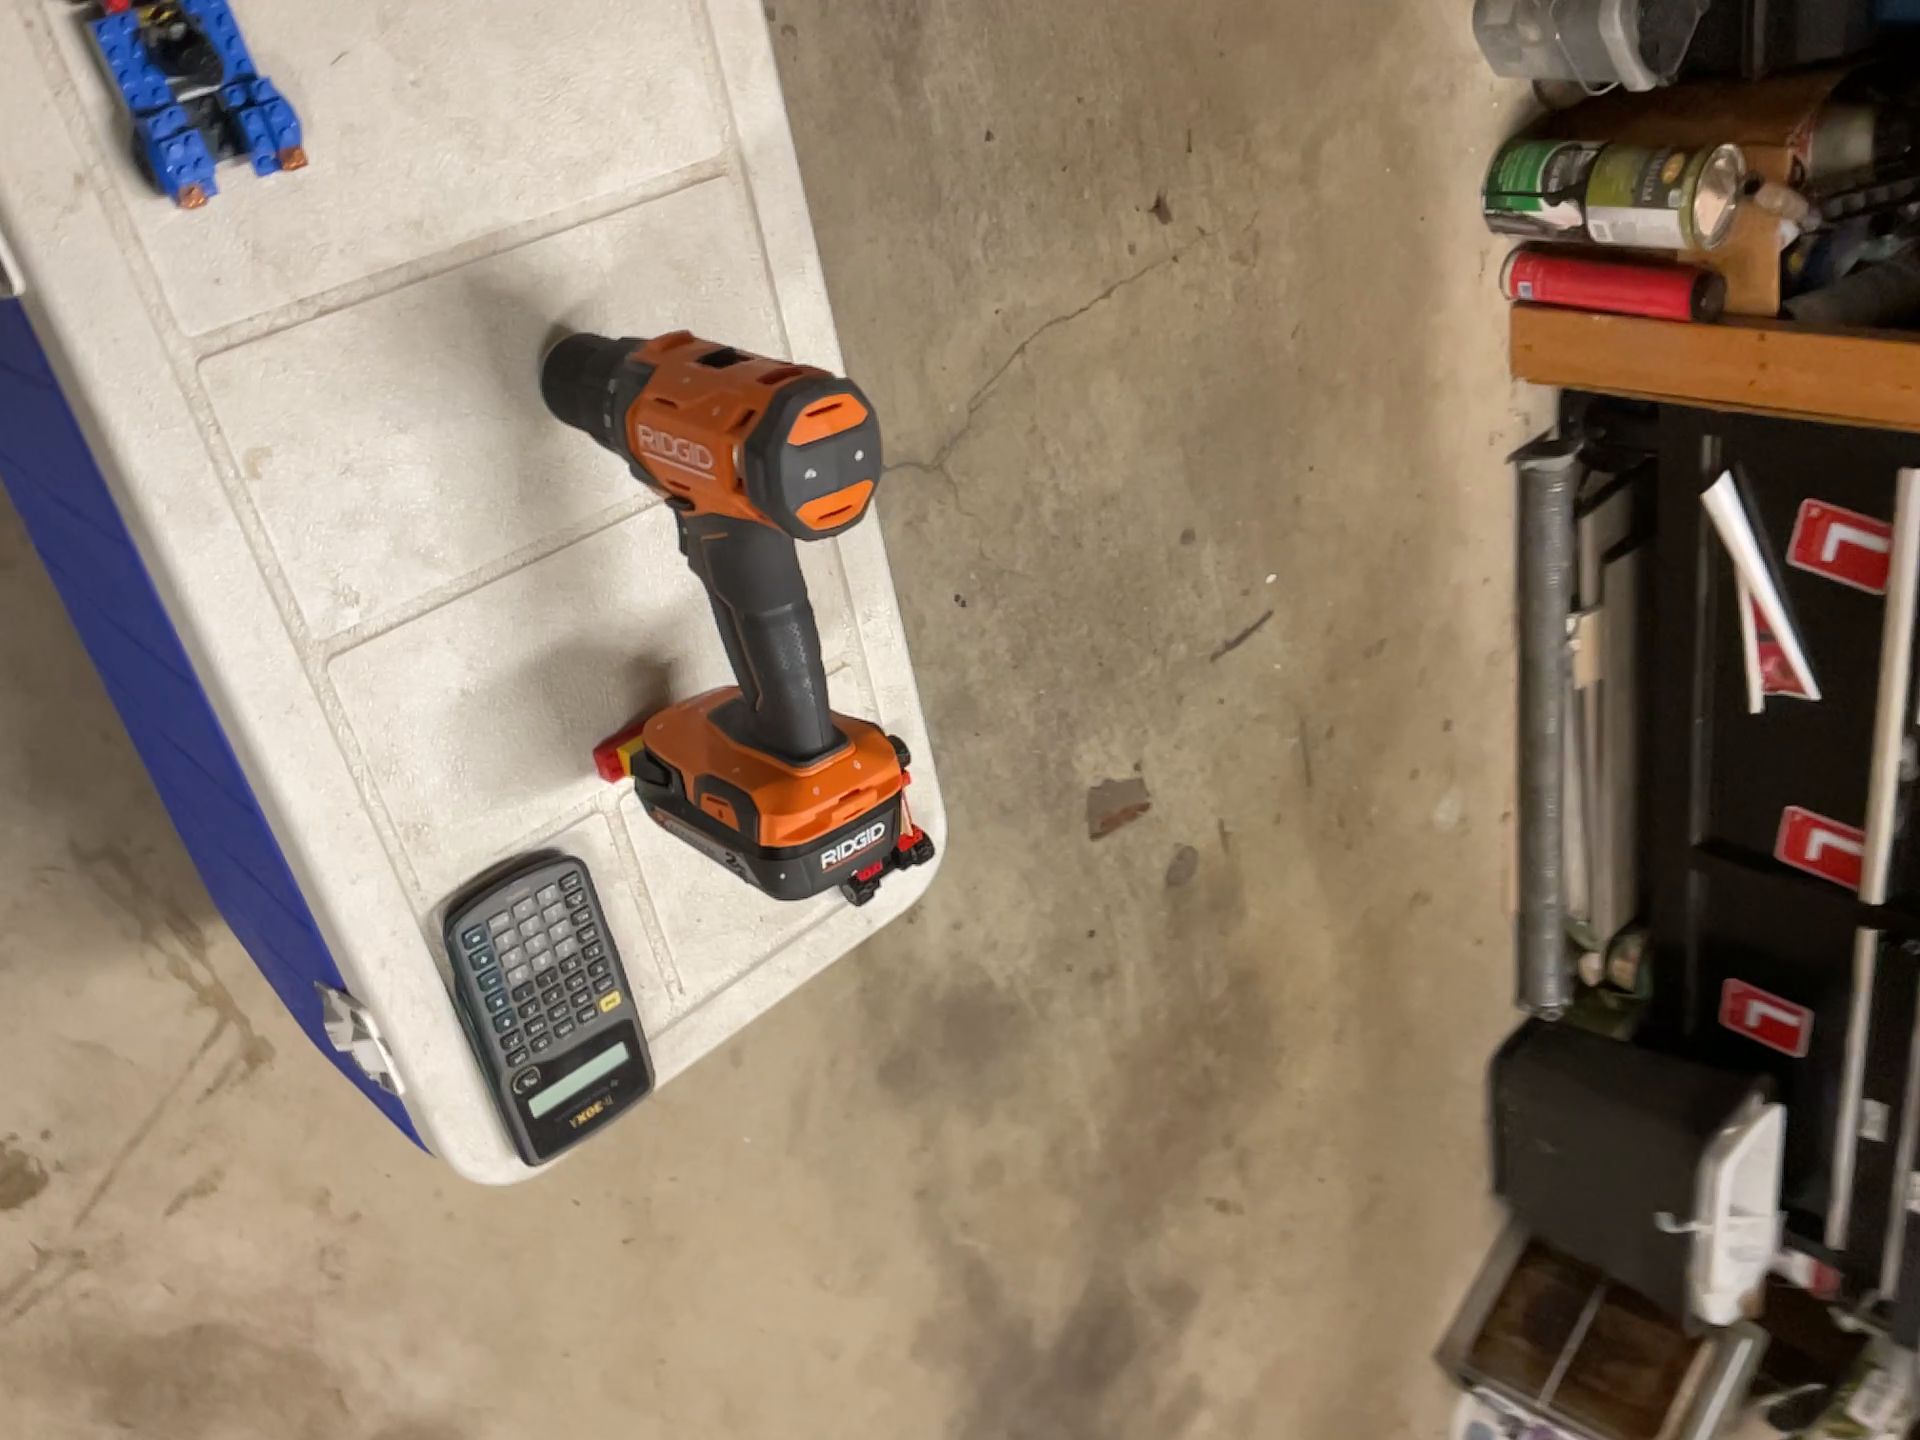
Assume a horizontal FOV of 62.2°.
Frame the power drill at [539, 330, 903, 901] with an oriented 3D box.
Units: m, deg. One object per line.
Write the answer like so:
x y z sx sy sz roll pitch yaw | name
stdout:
-0.108 -0.055 0.689 0.084 0.185 0.226 -28 128 -37 | power drill
